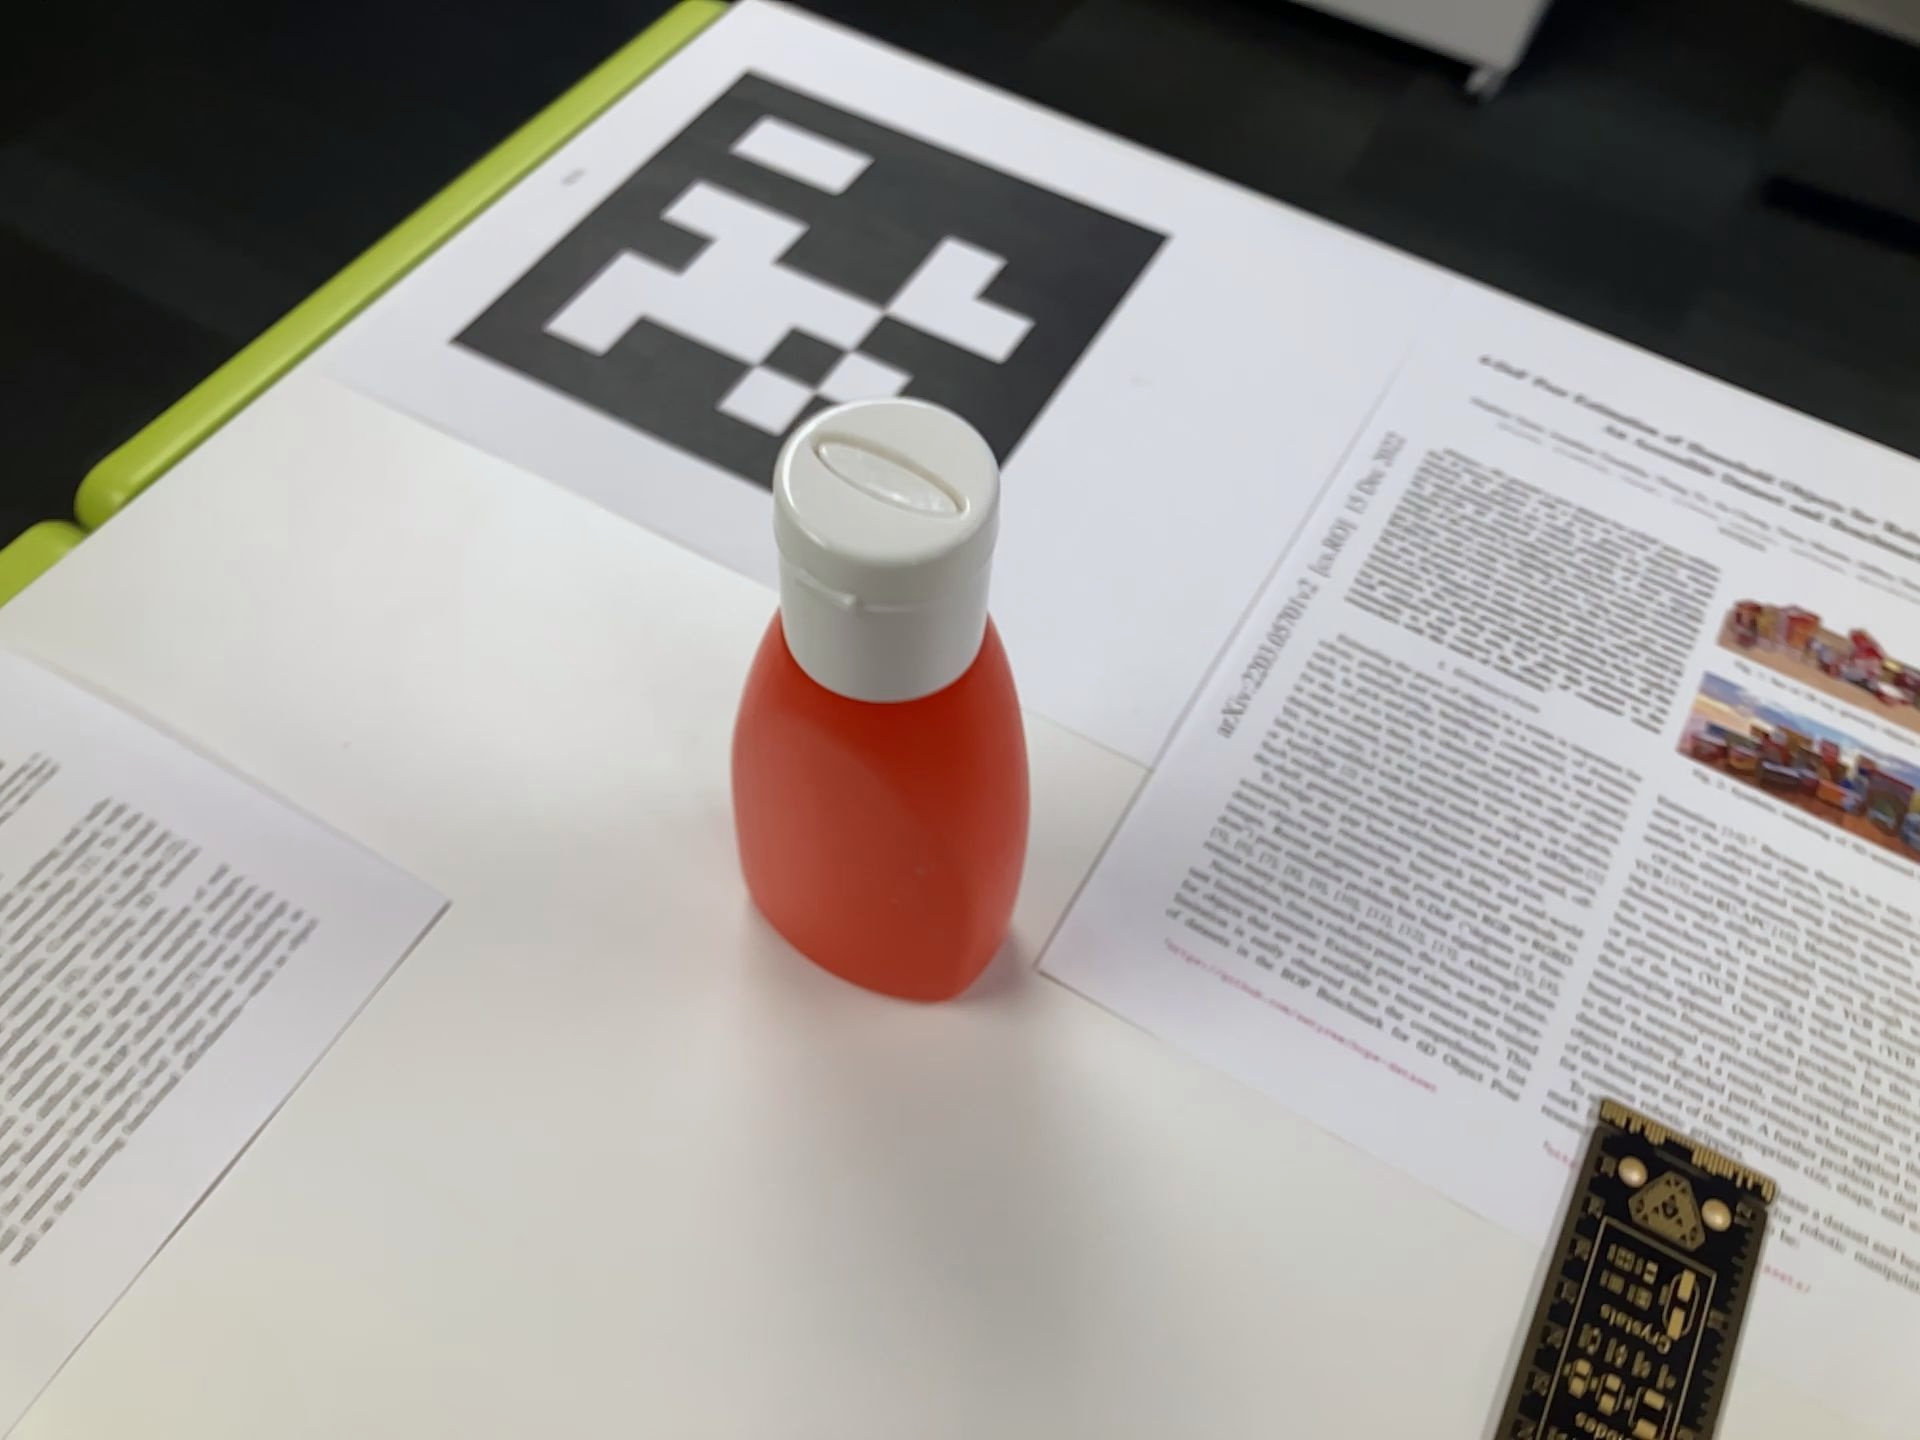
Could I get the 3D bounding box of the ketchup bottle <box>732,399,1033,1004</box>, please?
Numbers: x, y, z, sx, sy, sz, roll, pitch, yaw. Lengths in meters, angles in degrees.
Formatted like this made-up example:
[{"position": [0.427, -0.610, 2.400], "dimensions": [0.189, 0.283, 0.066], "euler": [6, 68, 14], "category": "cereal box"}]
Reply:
[{"position": [-0.015, 0.003, 0.312], "dimensions": [0.065, 0.149, 0.043], "euler": [28, 60, 14], "category": "ketchup bottle"}]
